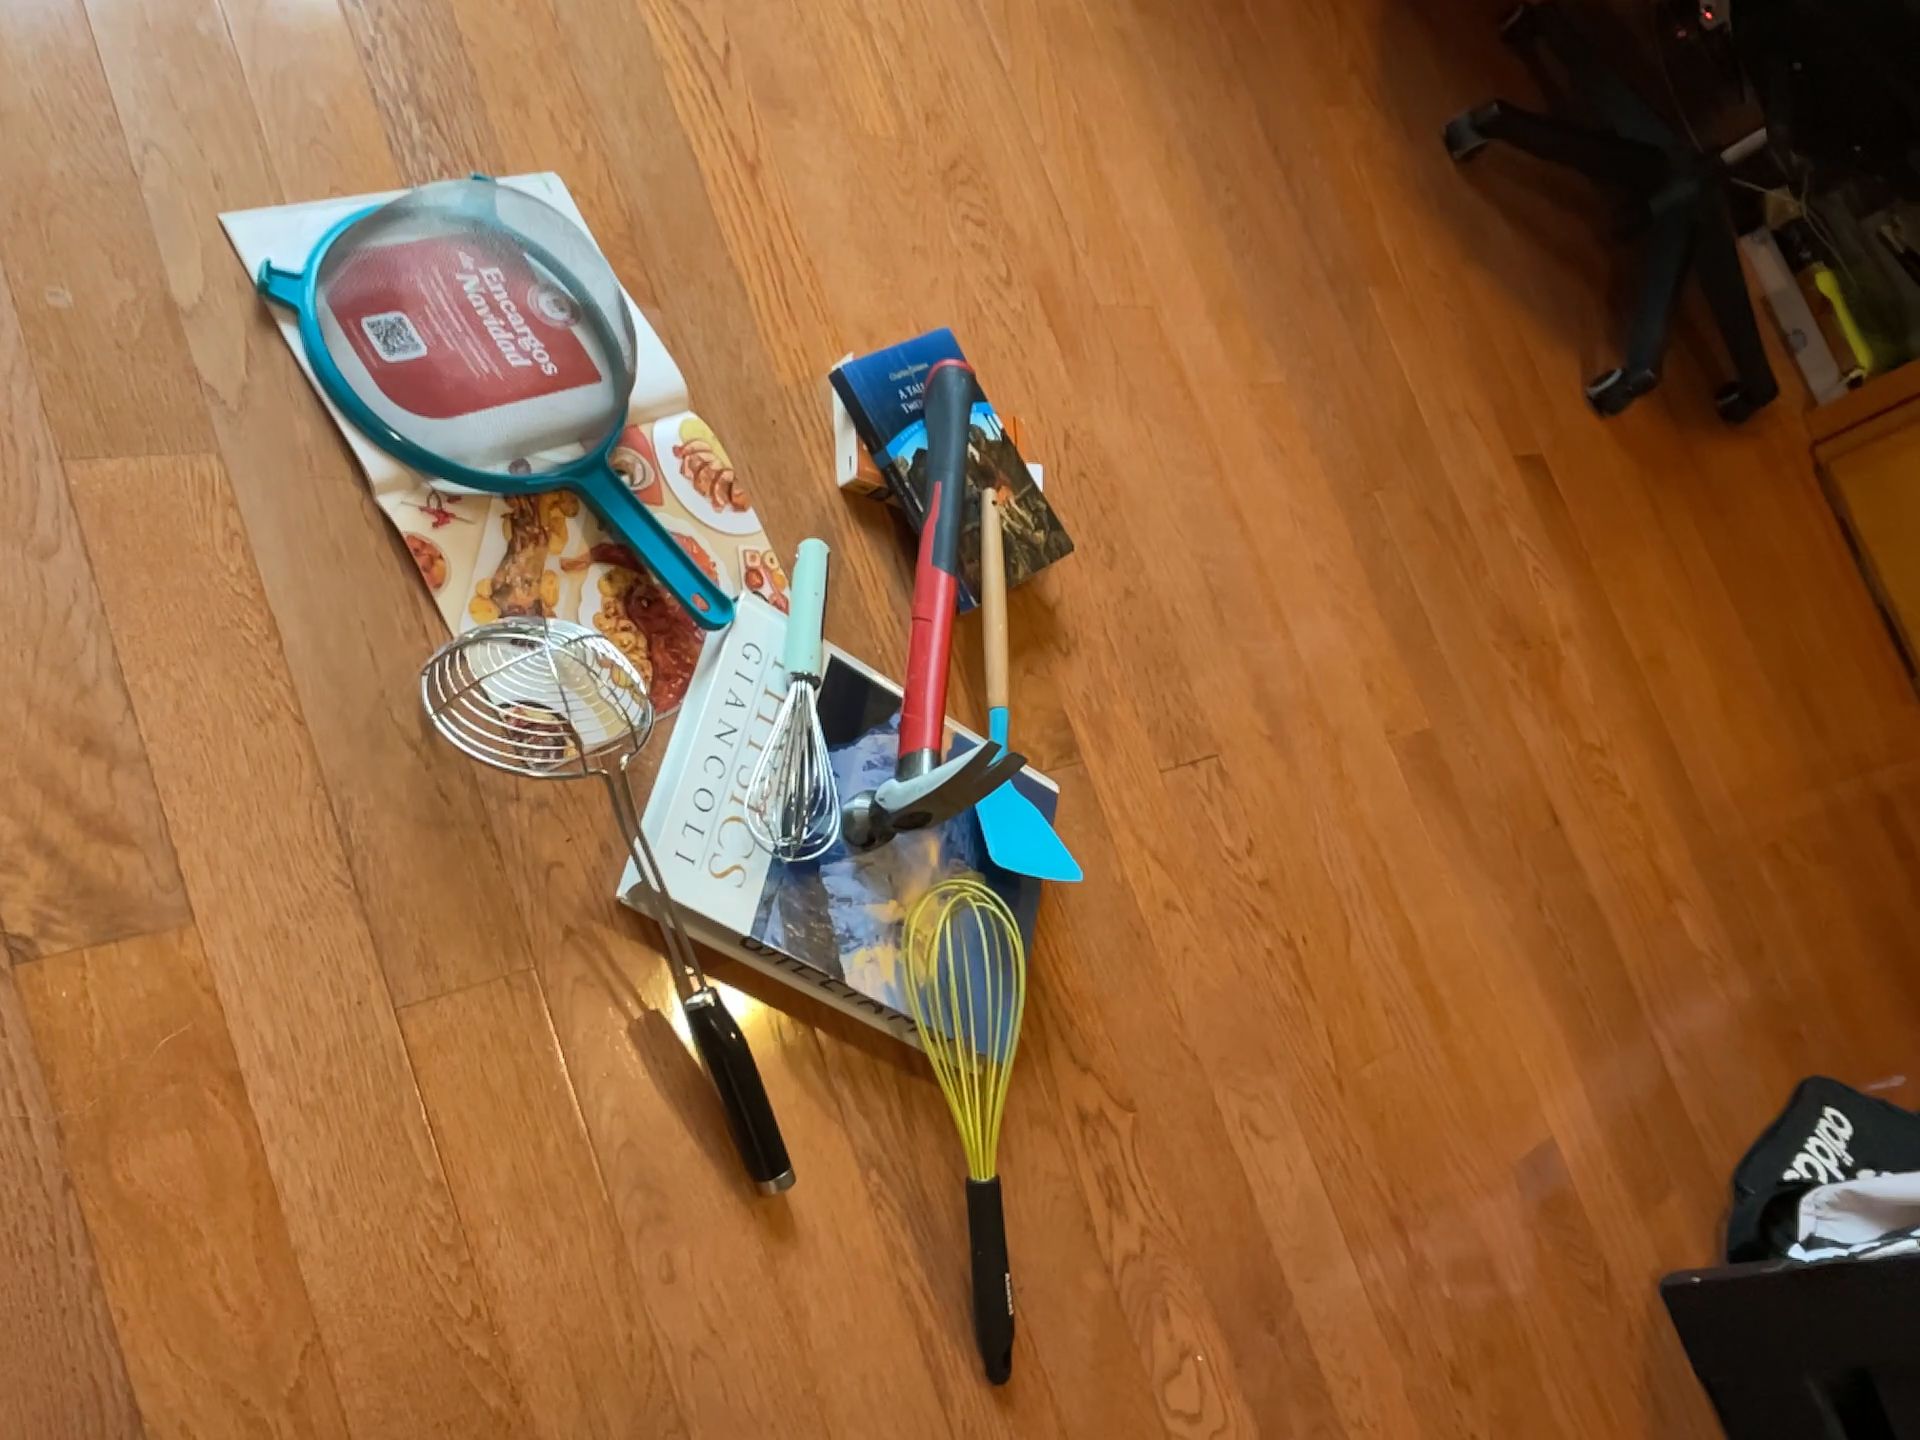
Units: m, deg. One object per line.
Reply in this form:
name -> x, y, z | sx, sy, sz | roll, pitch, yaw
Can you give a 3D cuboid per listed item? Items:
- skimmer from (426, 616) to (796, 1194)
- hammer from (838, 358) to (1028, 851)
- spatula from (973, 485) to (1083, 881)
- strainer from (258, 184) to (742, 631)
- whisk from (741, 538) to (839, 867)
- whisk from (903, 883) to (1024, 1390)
skimmer -> -0.191, 0.108, 0.927 | 0.127, 0.090, 0.363 | -29, 101, -47
hammer -> -0.006, -0.105, 1.075 | 0.038, 0.143, 0.387 | 29, 50, -32
spatula -> 0.034, -0.034, 1.131 | 0.082, 0.044, 0.318 | 15, 60, -34
strainer -> -0.239, -0.202, 0.977 | 0.340, 0.095, 0.211 | 48, 45, -3
whisk -> -0.101, -0.017, 1.010 | 0.059, 0.057, 0.247 | 5, 57, -6
whisk -> 0.012, 0.257, 0.988 | 0.080, 0.067, 0.312 | -2, 85, -58
